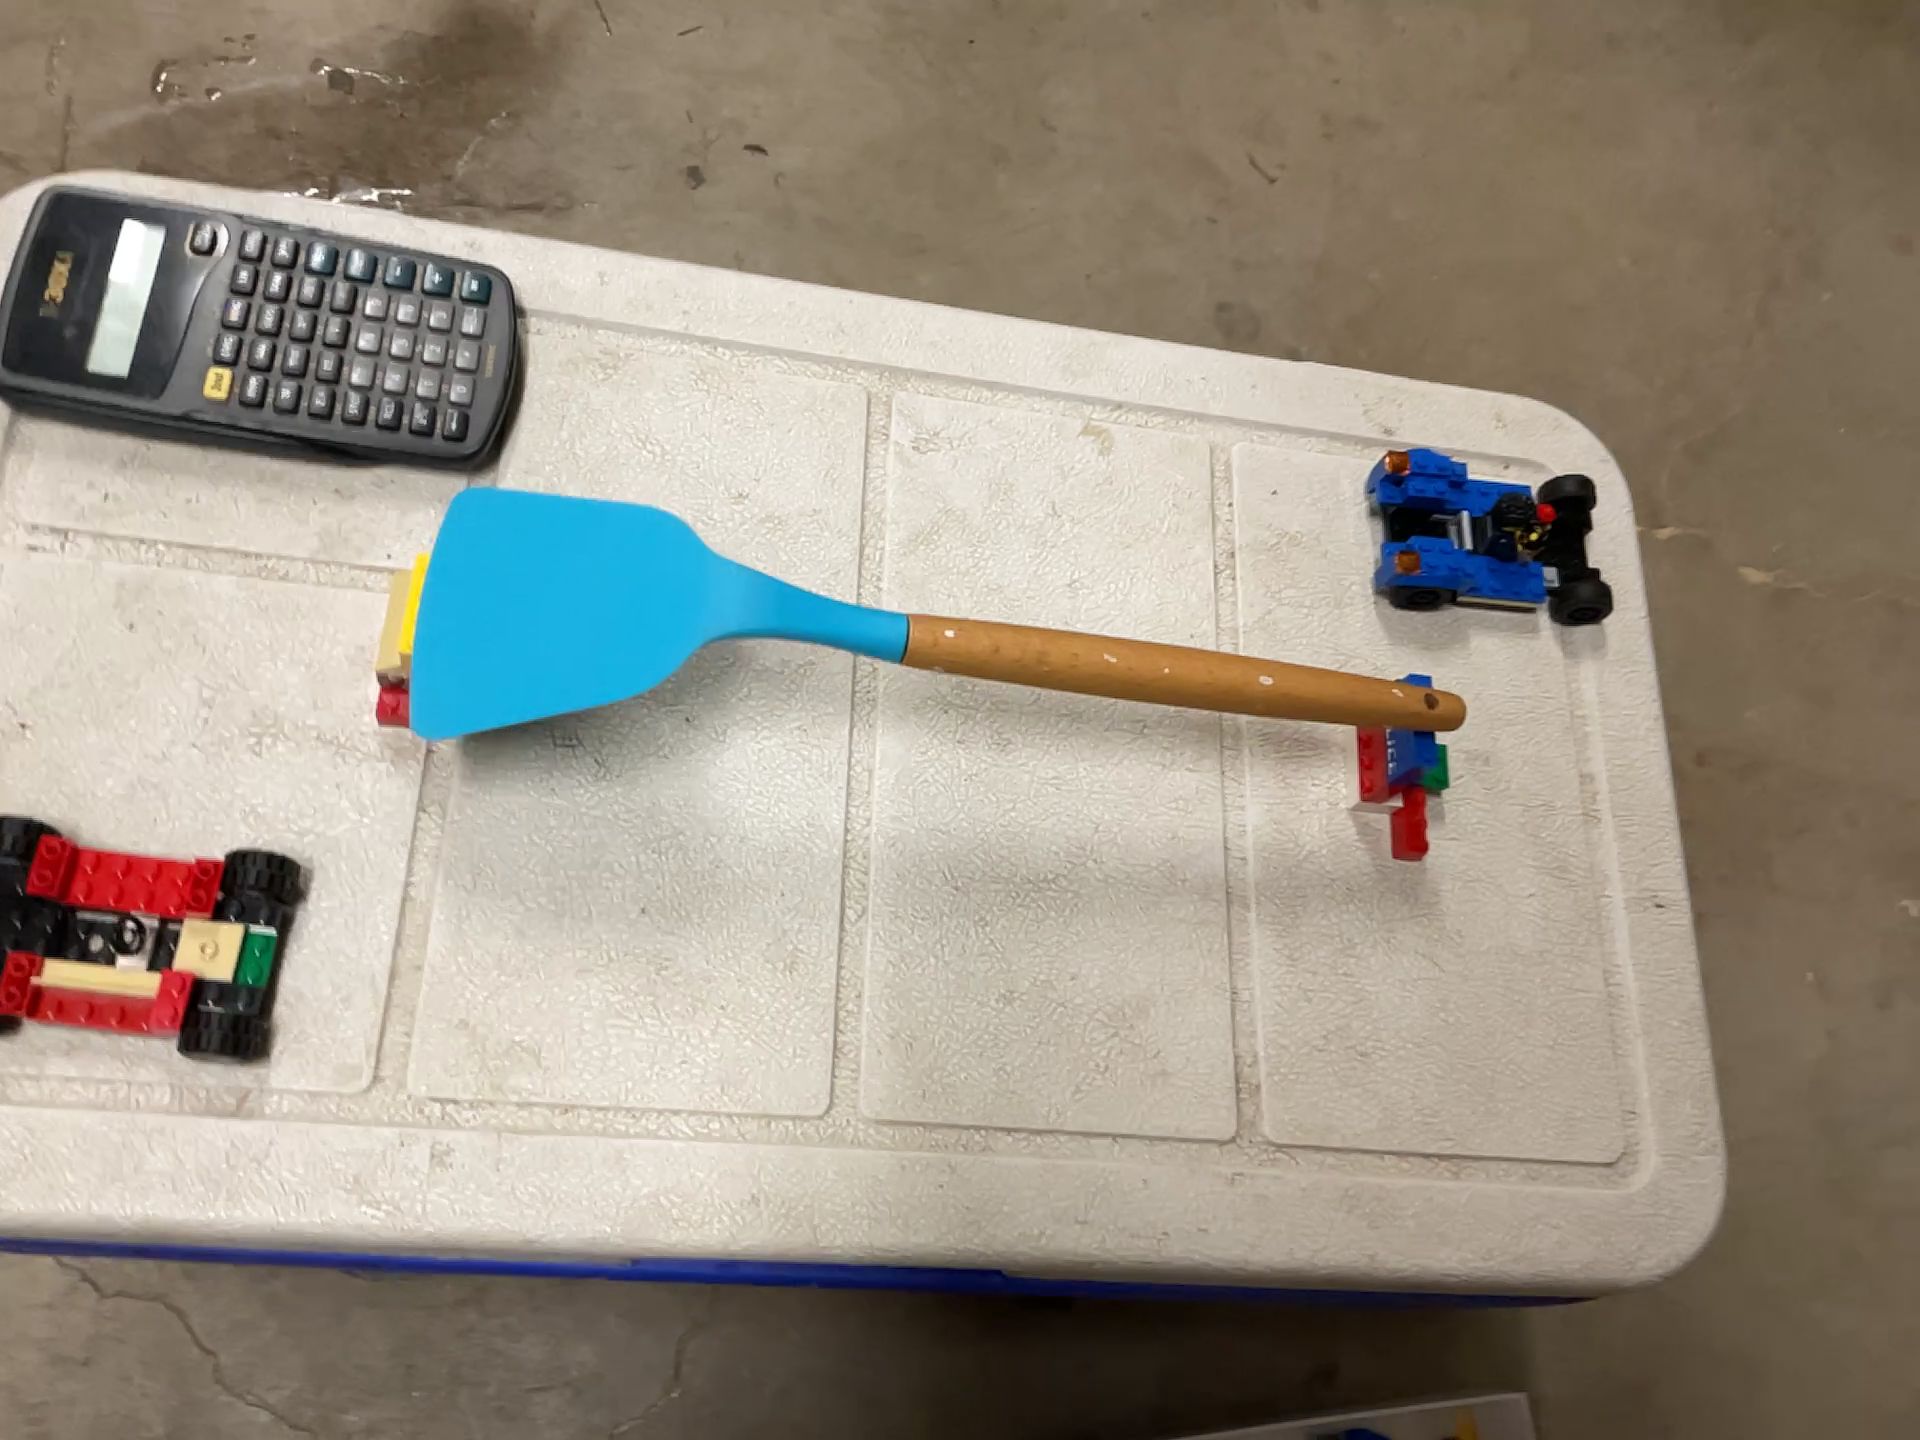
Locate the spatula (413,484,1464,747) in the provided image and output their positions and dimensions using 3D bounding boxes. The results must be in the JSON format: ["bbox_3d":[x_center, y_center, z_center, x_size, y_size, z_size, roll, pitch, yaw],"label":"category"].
[{"bbox_3d":[0.005,-0.018,0.480,0.317,0.044,0.082,8,67,-15],"label":"spatula"}]
